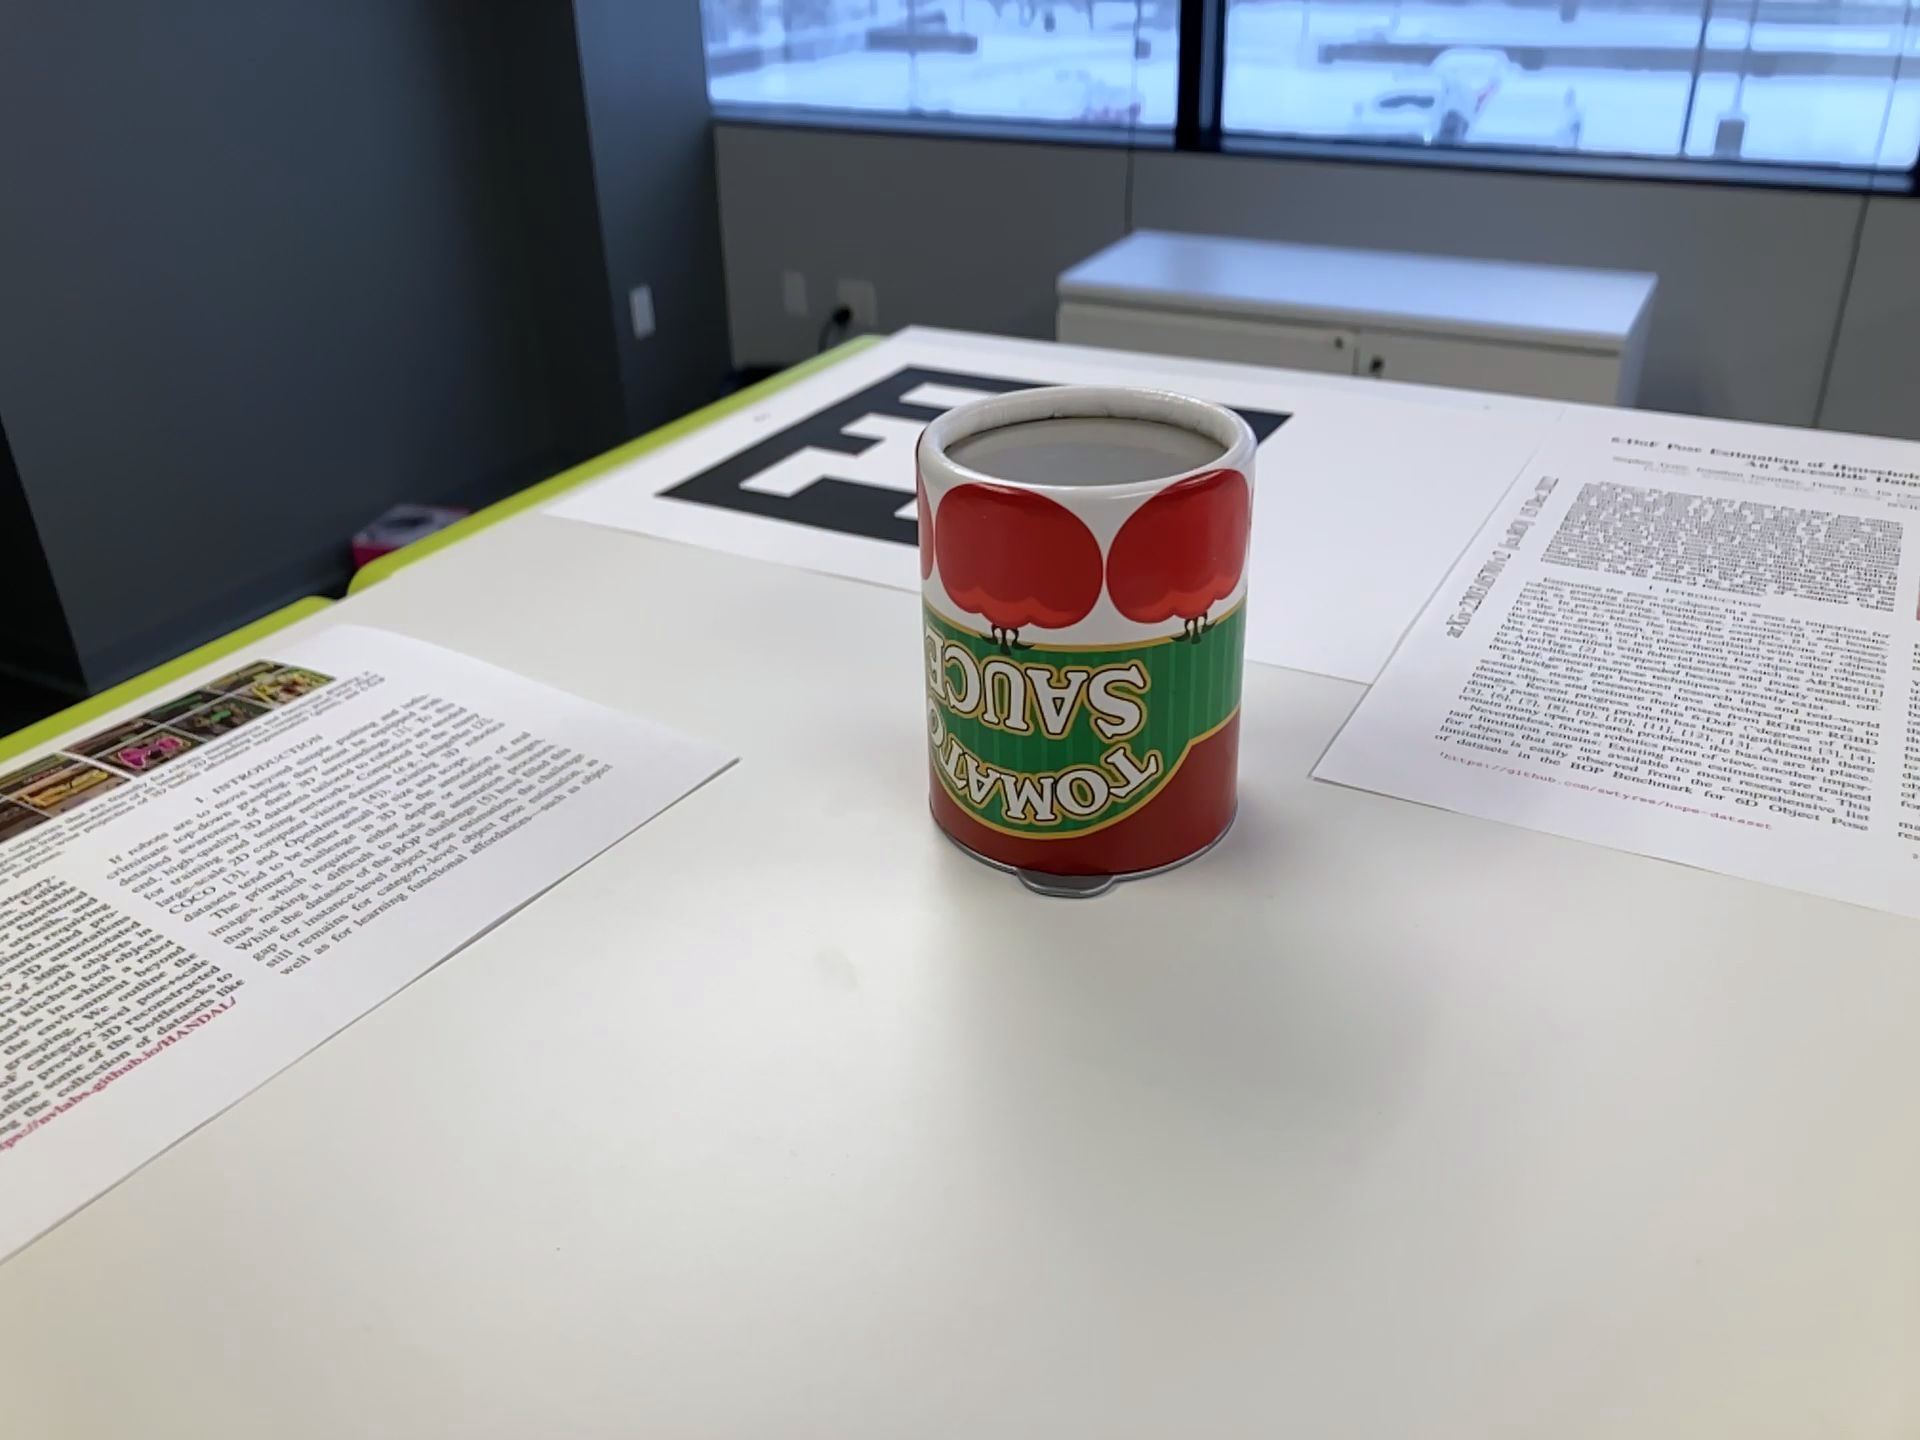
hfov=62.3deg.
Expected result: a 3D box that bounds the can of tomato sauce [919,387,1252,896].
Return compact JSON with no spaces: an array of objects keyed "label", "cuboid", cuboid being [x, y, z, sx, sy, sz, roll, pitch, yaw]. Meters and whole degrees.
[{"label":"can of tomato sauce","cuboid":[0.024,-0.018,0.327,0.071,0.083,0.071,0,30,0]}]
